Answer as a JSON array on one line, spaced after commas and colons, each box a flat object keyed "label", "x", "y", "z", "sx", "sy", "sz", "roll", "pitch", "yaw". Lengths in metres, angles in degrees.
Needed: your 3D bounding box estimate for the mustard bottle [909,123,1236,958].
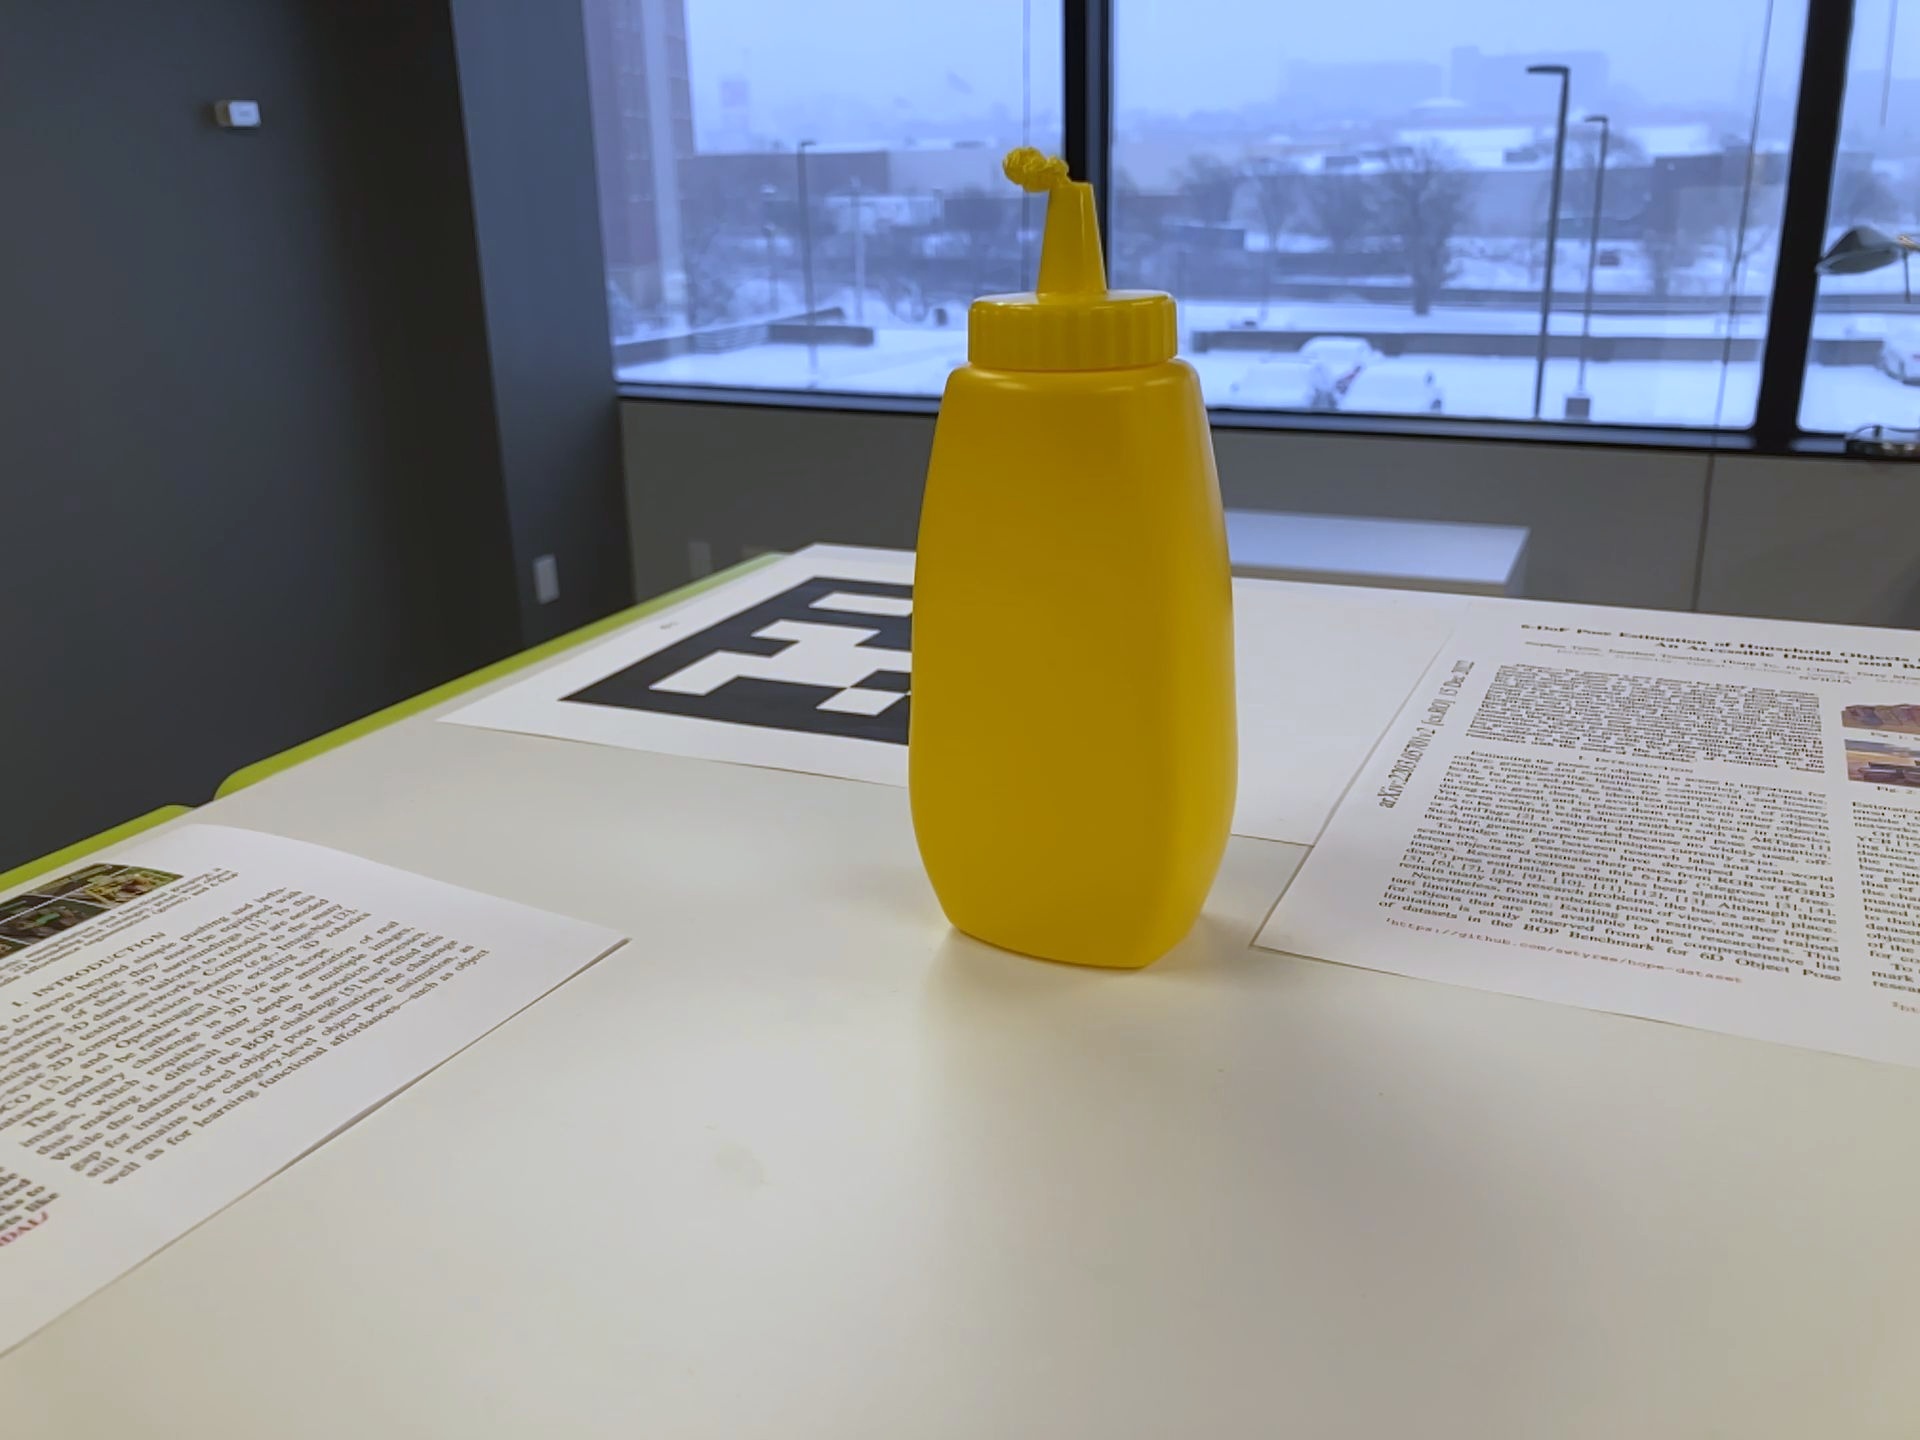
[{"label": "mustard bottle", "x": 0.023, "y": -0.034, "z": 0.318, "sx": 0.065, "sy": 0.160, "sz": 0.049, "roll": 10, "pitch": 20, "yaw": 28}]
